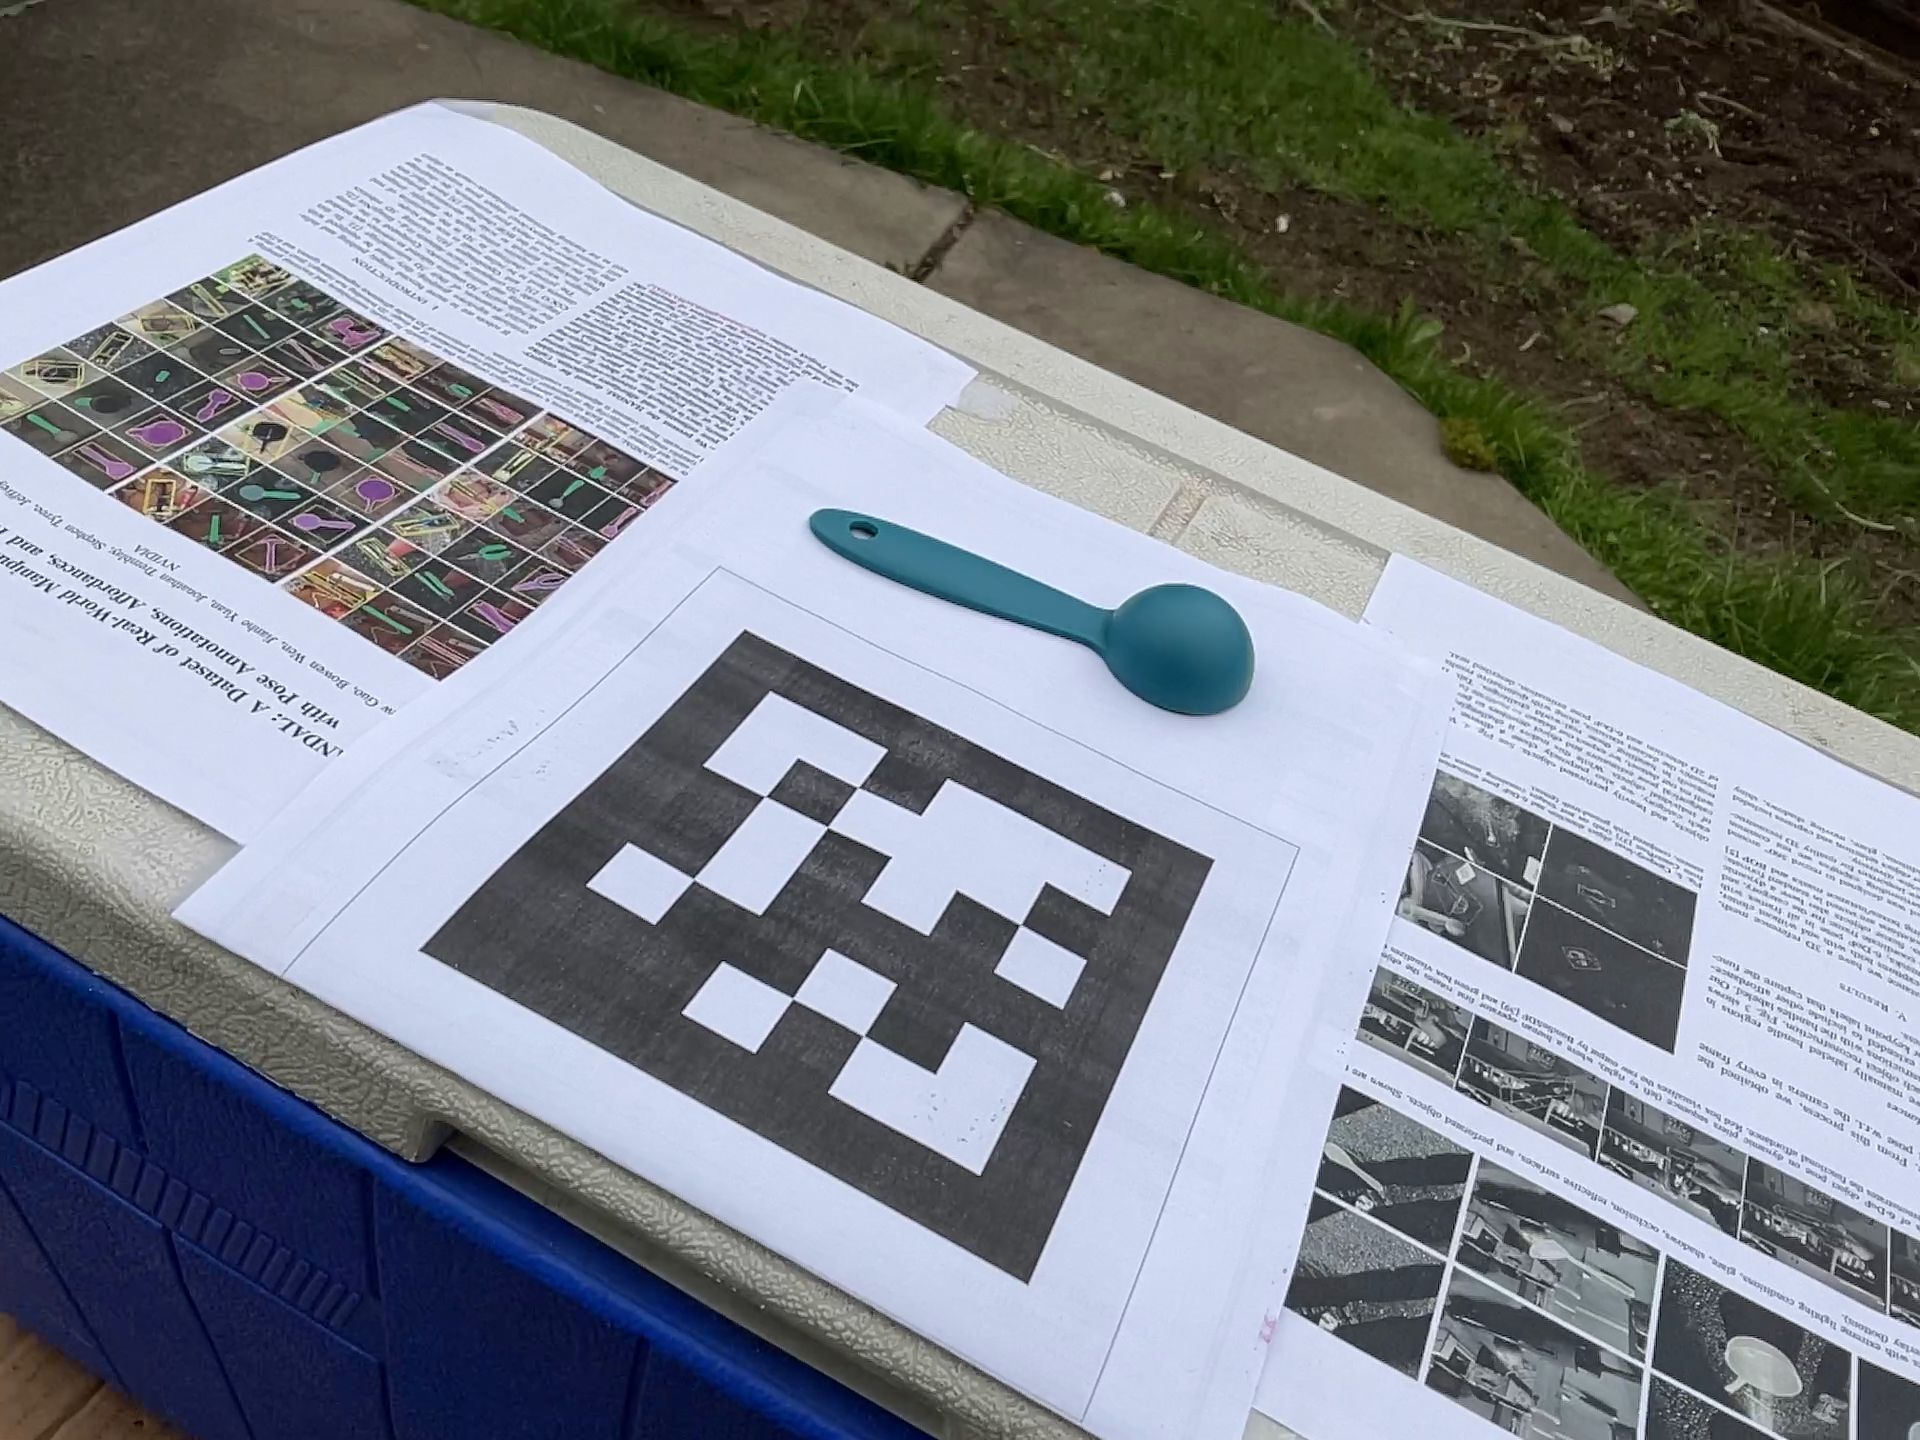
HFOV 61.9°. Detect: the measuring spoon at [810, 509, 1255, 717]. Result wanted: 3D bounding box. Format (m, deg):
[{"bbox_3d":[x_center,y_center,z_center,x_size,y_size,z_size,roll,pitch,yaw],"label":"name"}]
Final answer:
[{"bbox_3d":[0.020,-0.038,0.432,0.128,0.021,0.042,20,47,3],"label":"measuring spoon"}]
